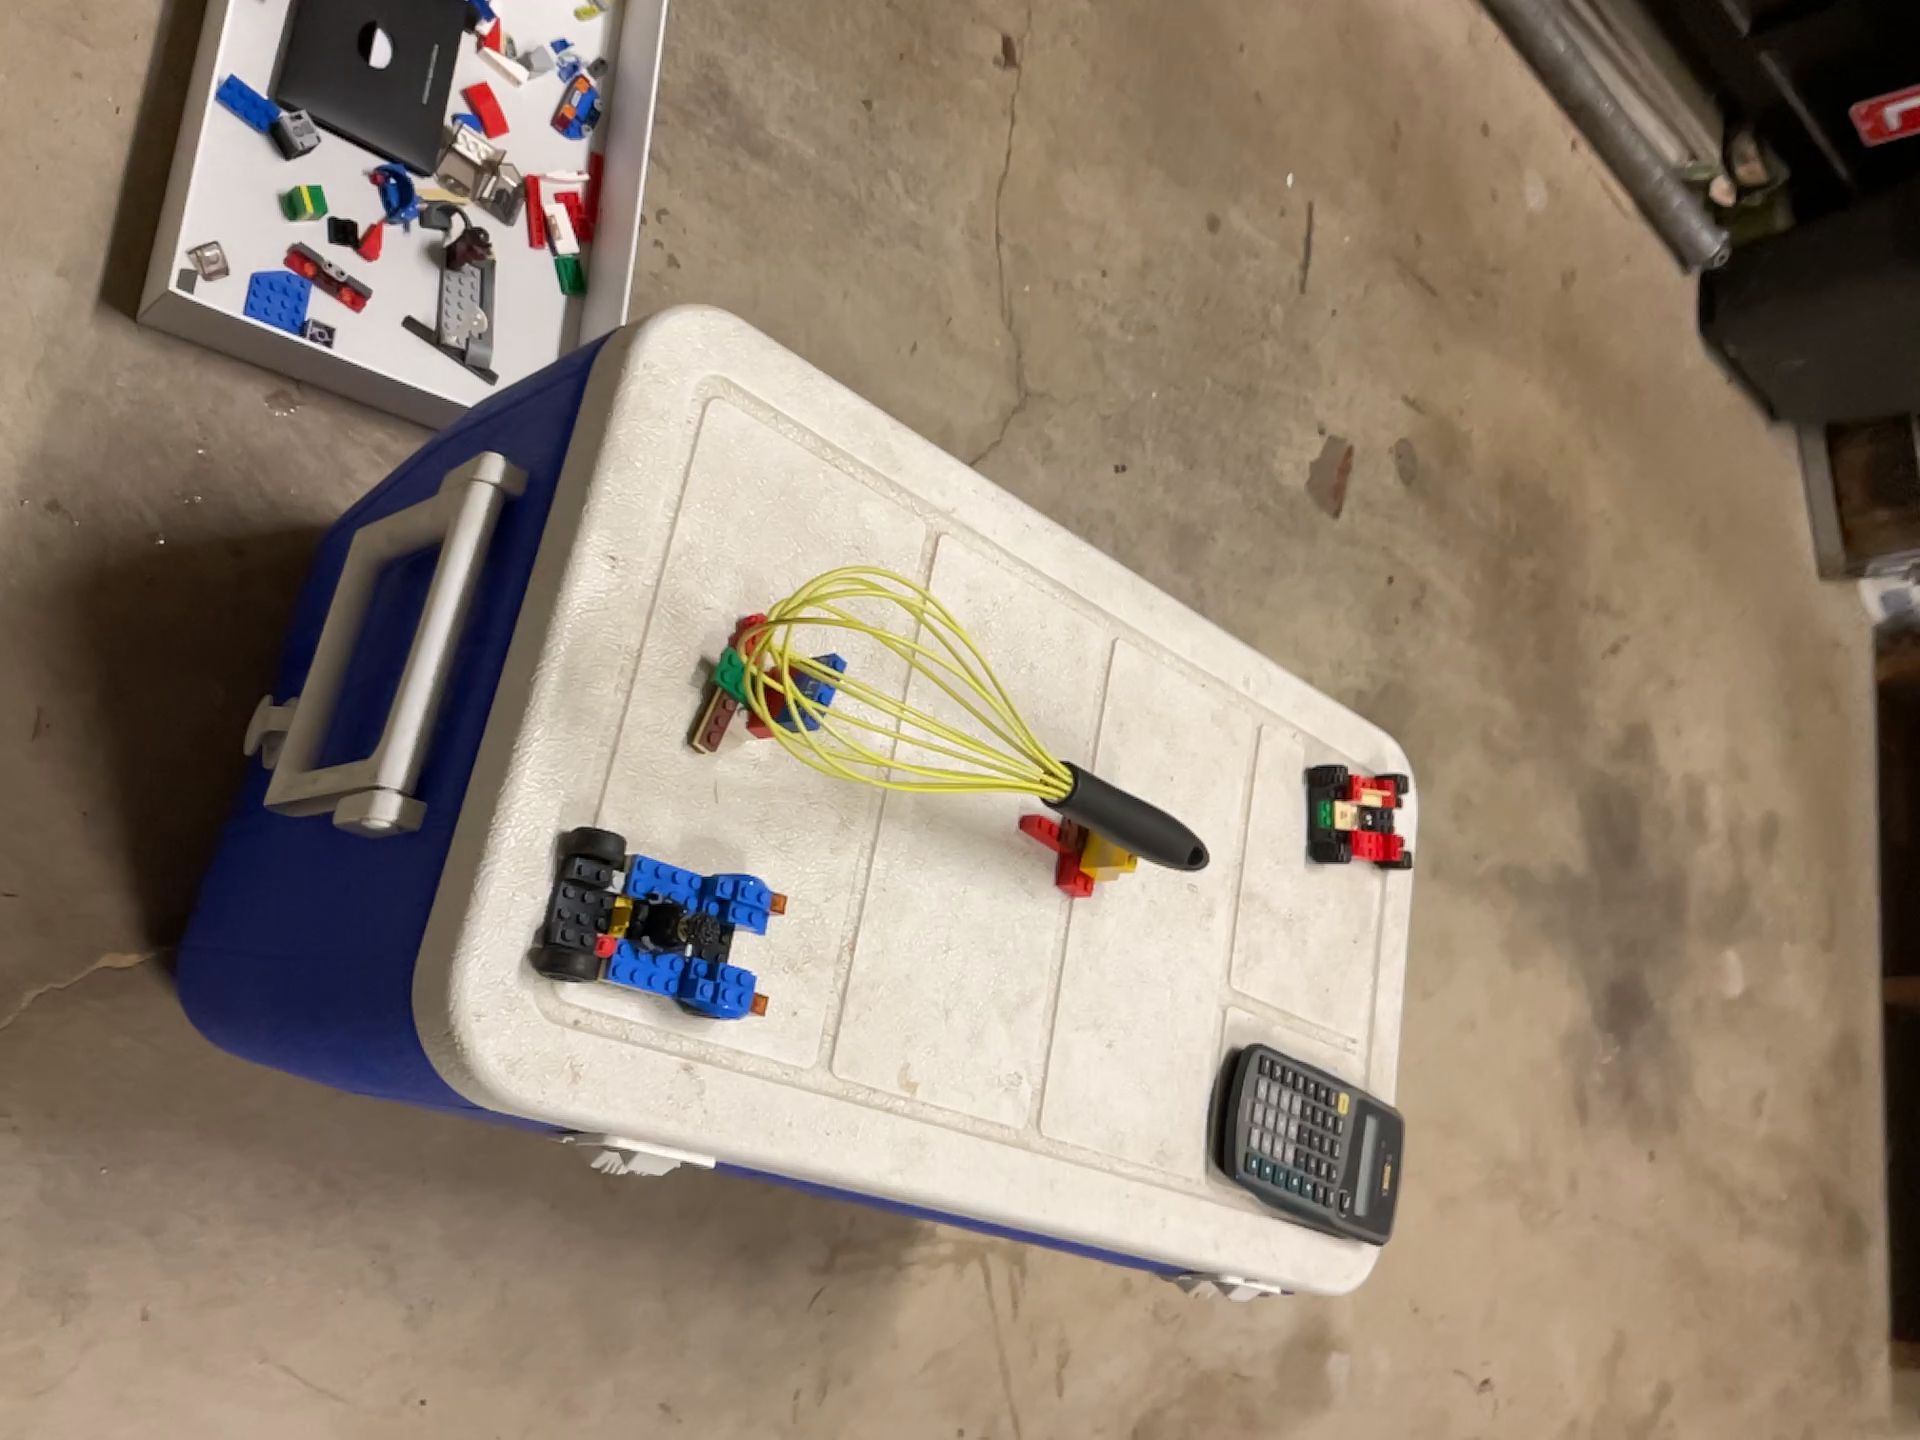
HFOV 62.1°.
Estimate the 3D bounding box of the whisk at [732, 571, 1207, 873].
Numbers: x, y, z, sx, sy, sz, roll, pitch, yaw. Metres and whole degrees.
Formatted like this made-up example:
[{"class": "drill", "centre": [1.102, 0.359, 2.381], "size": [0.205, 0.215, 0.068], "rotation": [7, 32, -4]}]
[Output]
[{"class": "whisk", "centre": [0.023, 0.017, 0.666], "size": [0.080, 0.067, 0.311], "rotation": [-47, 138, 14]}]
